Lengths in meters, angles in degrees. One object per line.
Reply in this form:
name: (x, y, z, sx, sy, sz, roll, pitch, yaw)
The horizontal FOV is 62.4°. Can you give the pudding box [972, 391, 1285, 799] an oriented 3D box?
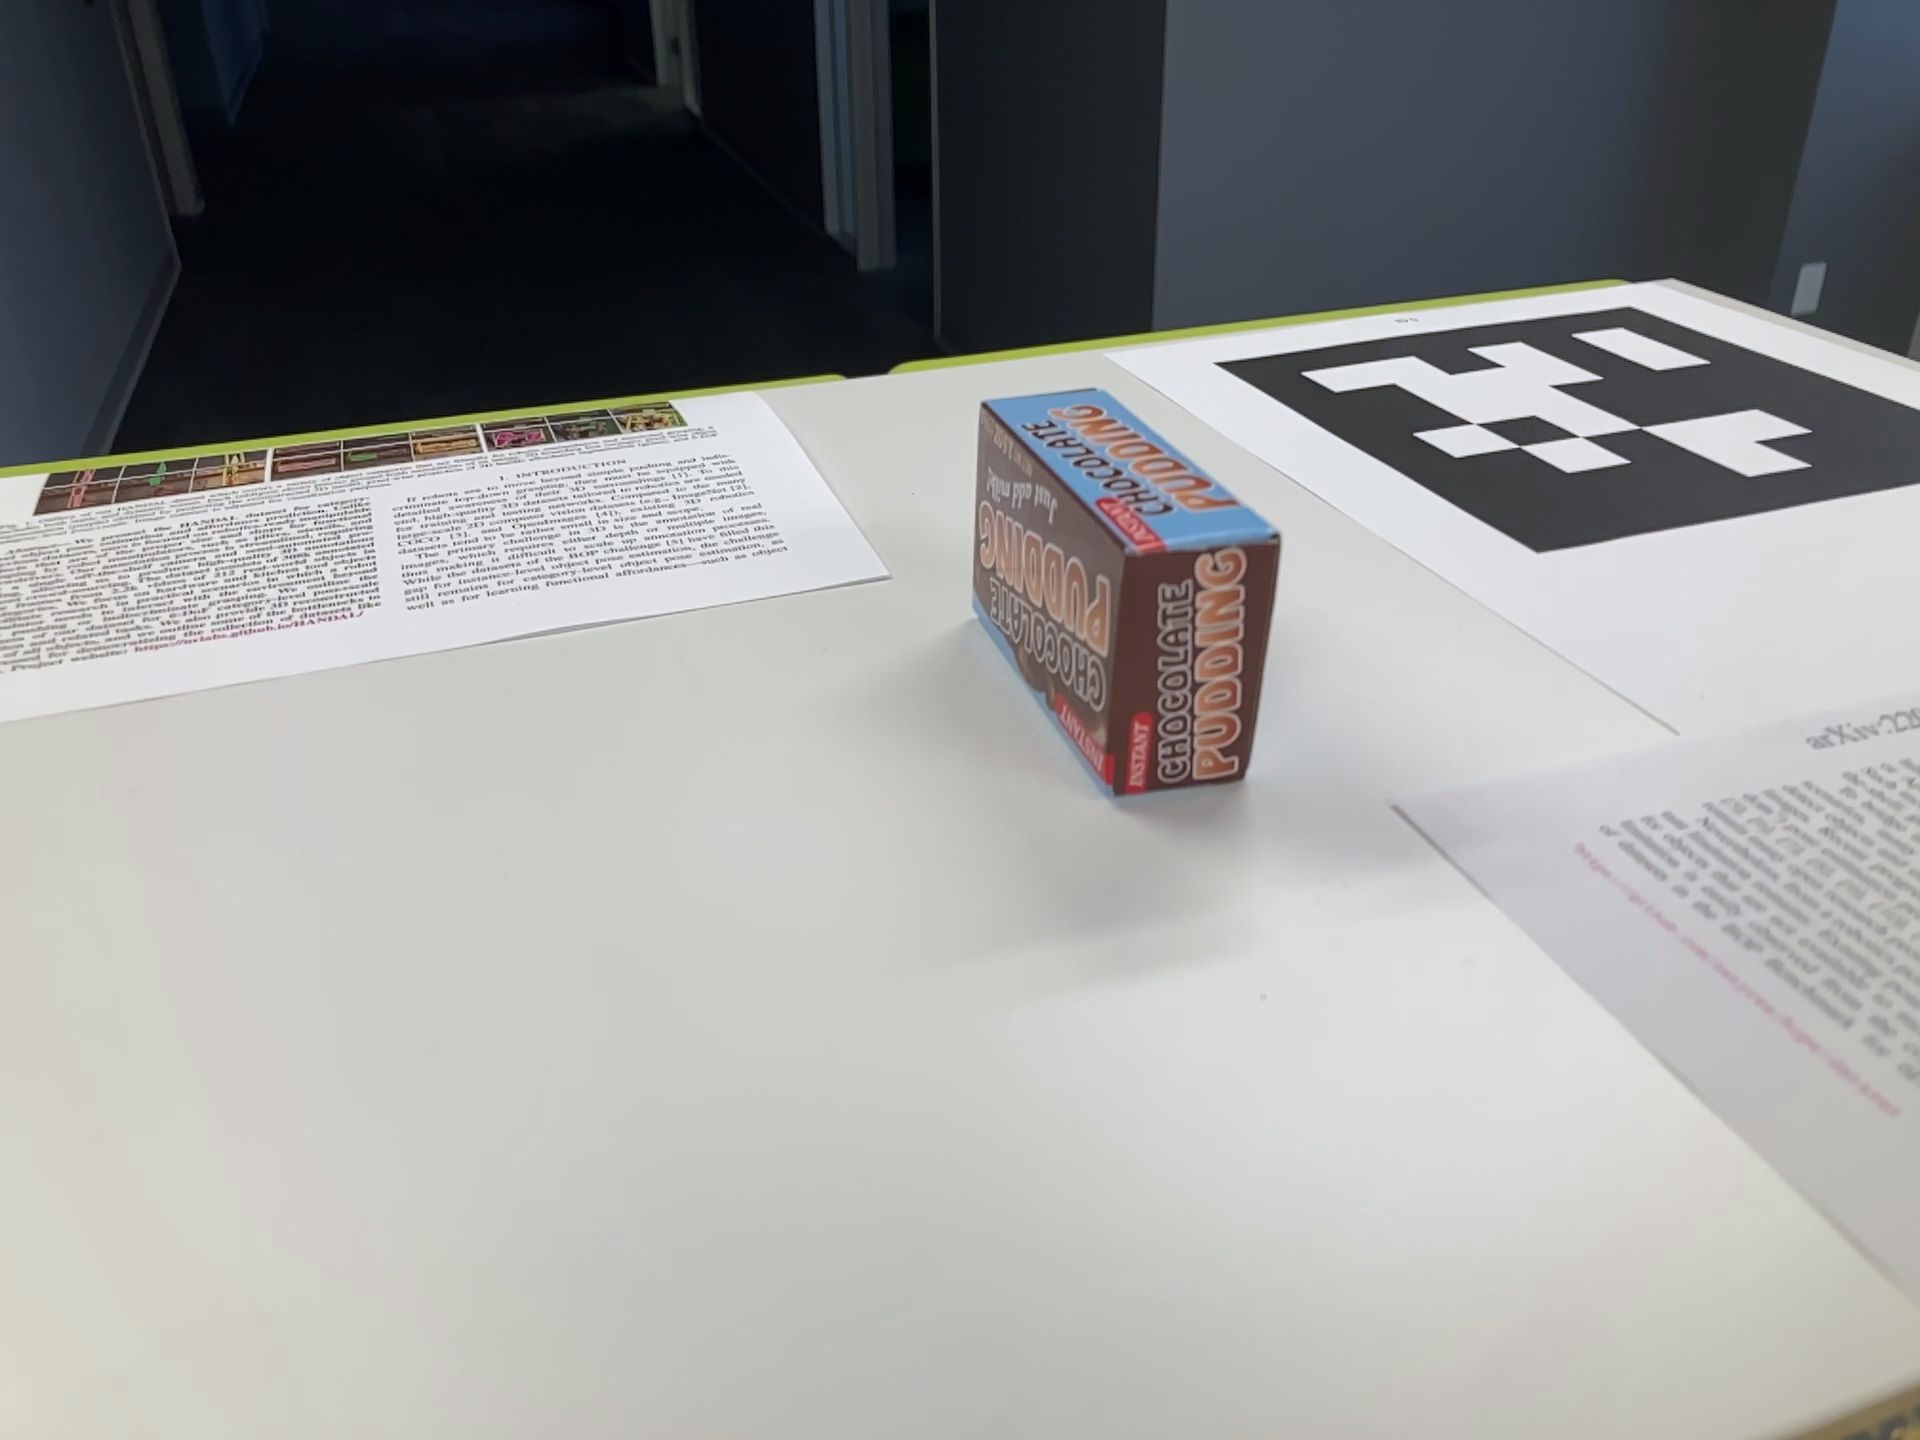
pudding box: (0.028, -0.027, 0.304, 0.030, 0.049, 0.083, -7, 30, -15)
